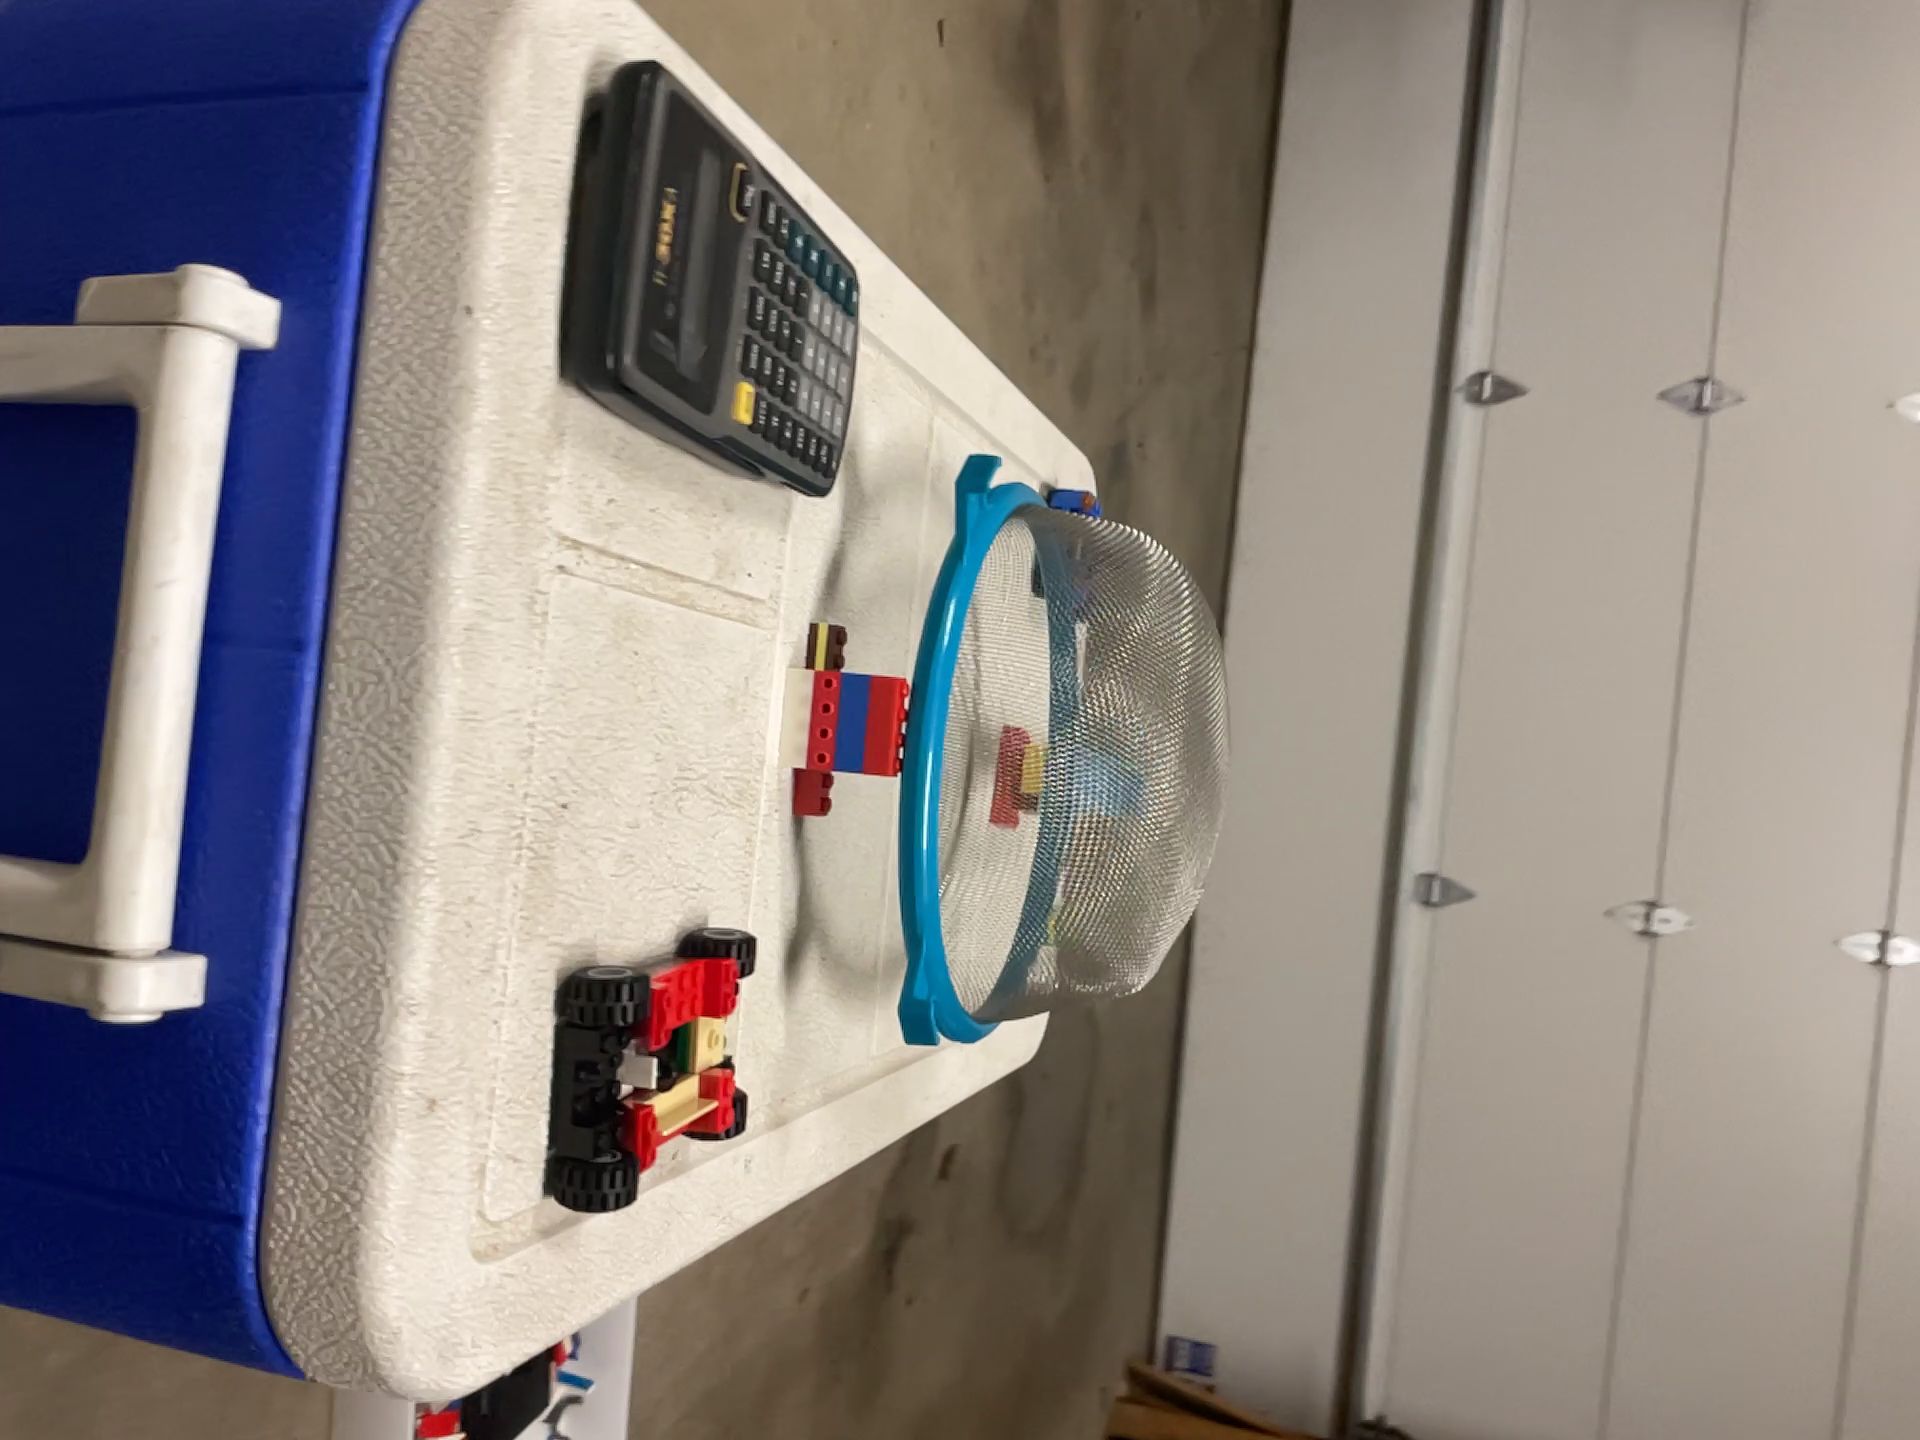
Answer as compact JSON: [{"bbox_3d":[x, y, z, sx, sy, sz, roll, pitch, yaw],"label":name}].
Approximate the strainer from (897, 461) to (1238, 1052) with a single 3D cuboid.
[{"bbox_3d":[0.073,0.027,0.654,0.340,0.095,0.211,17,79,-72],"label":"strainer"}]
